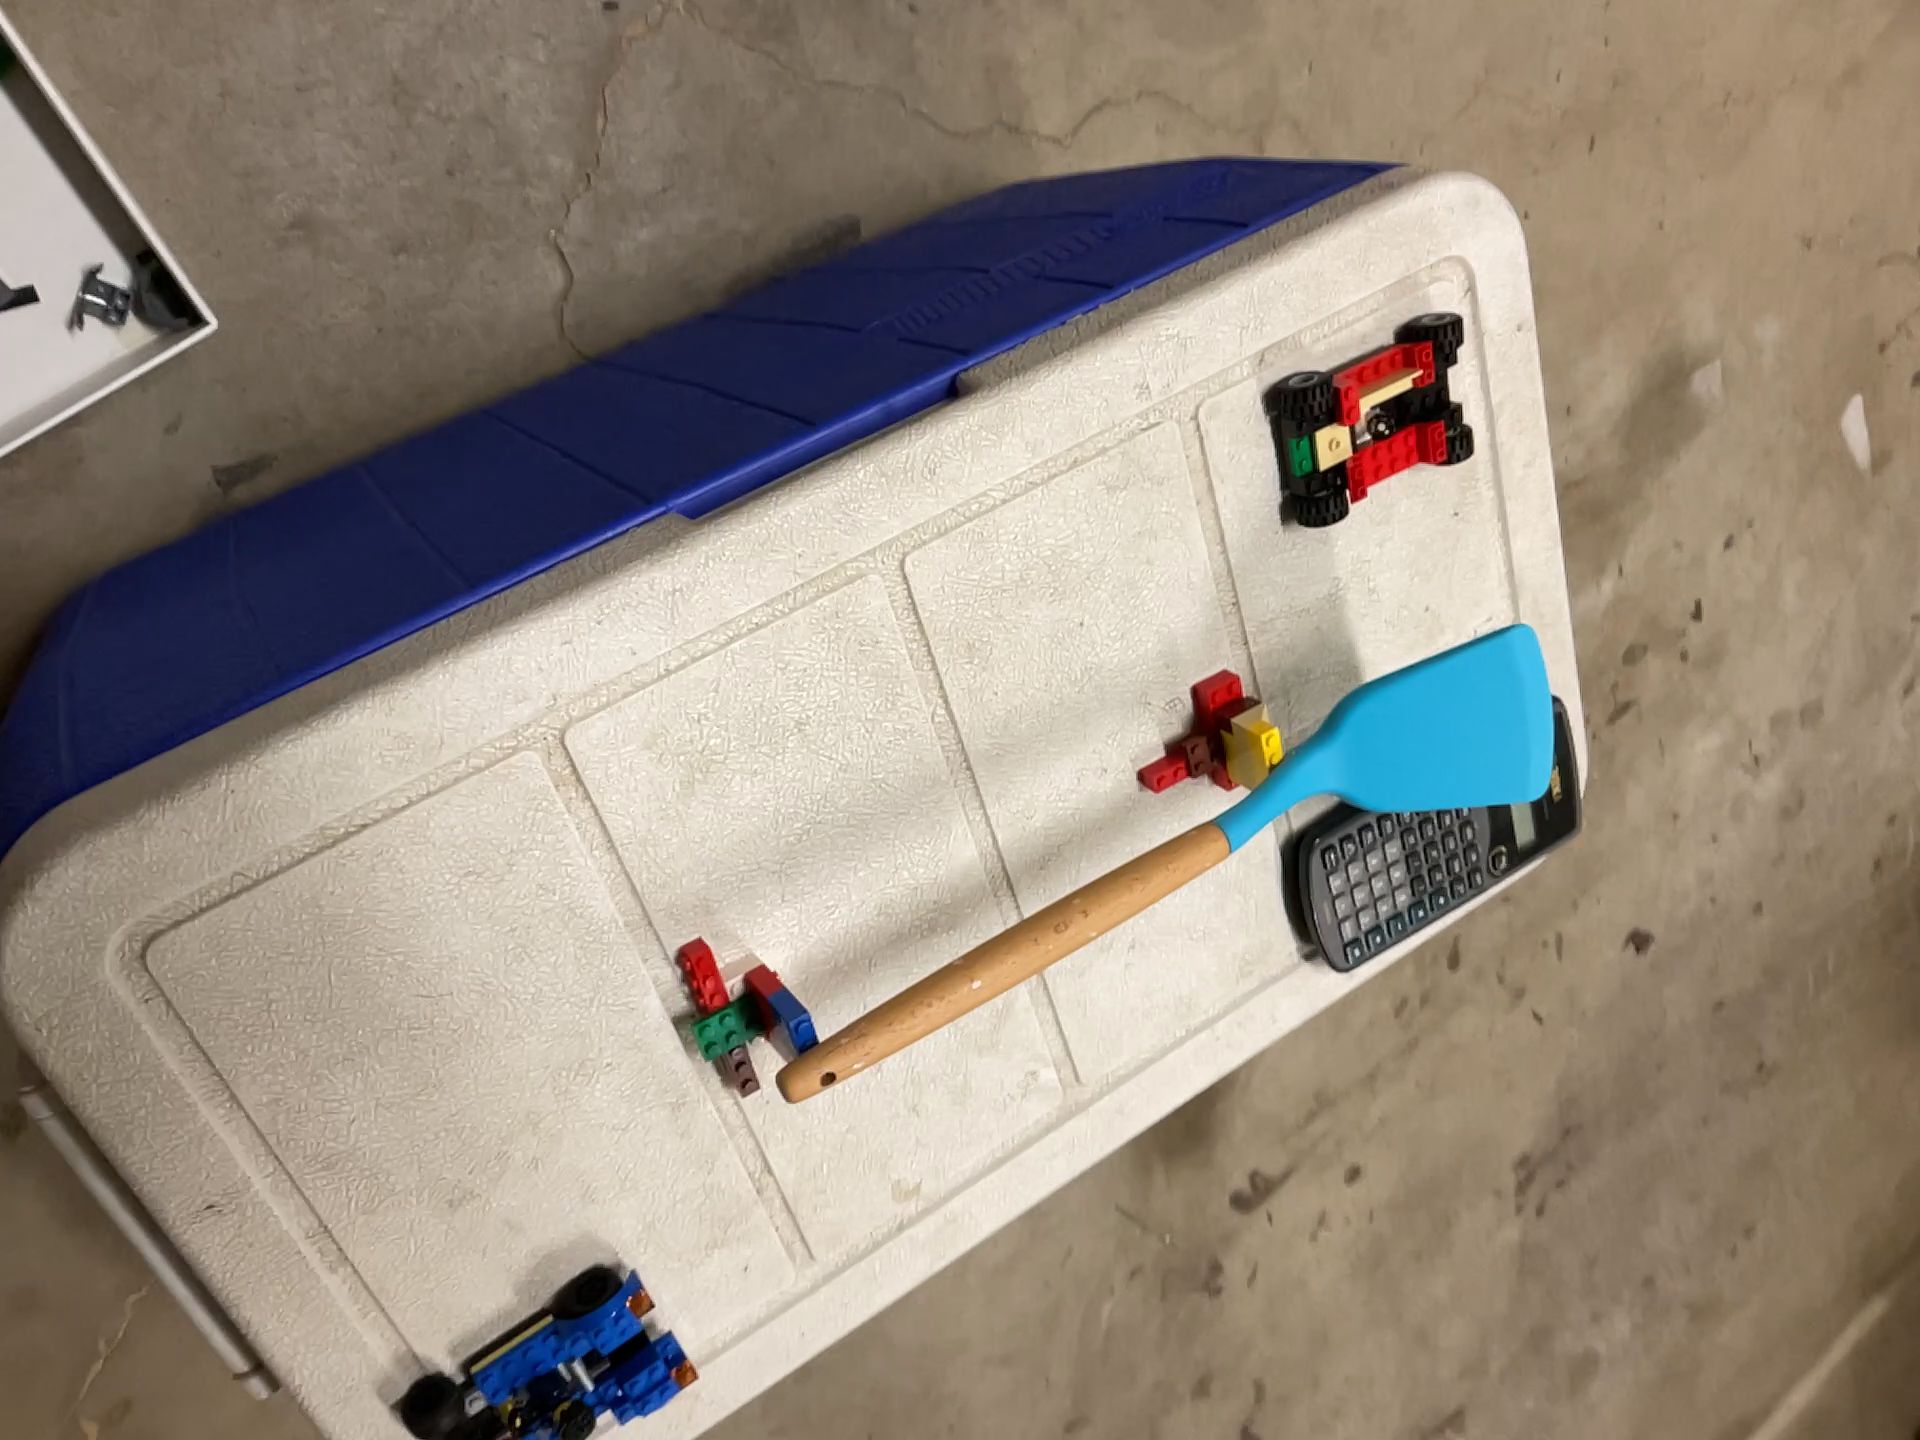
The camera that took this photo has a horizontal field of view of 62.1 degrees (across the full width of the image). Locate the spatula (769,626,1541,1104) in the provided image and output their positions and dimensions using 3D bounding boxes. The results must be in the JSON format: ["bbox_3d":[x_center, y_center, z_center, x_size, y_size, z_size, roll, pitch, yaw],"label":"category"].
[{"bbox_3d":[0.077,0.058,0.573,0.317,0.044,0.082,-27,122,-19],"label":"spatula"}]
